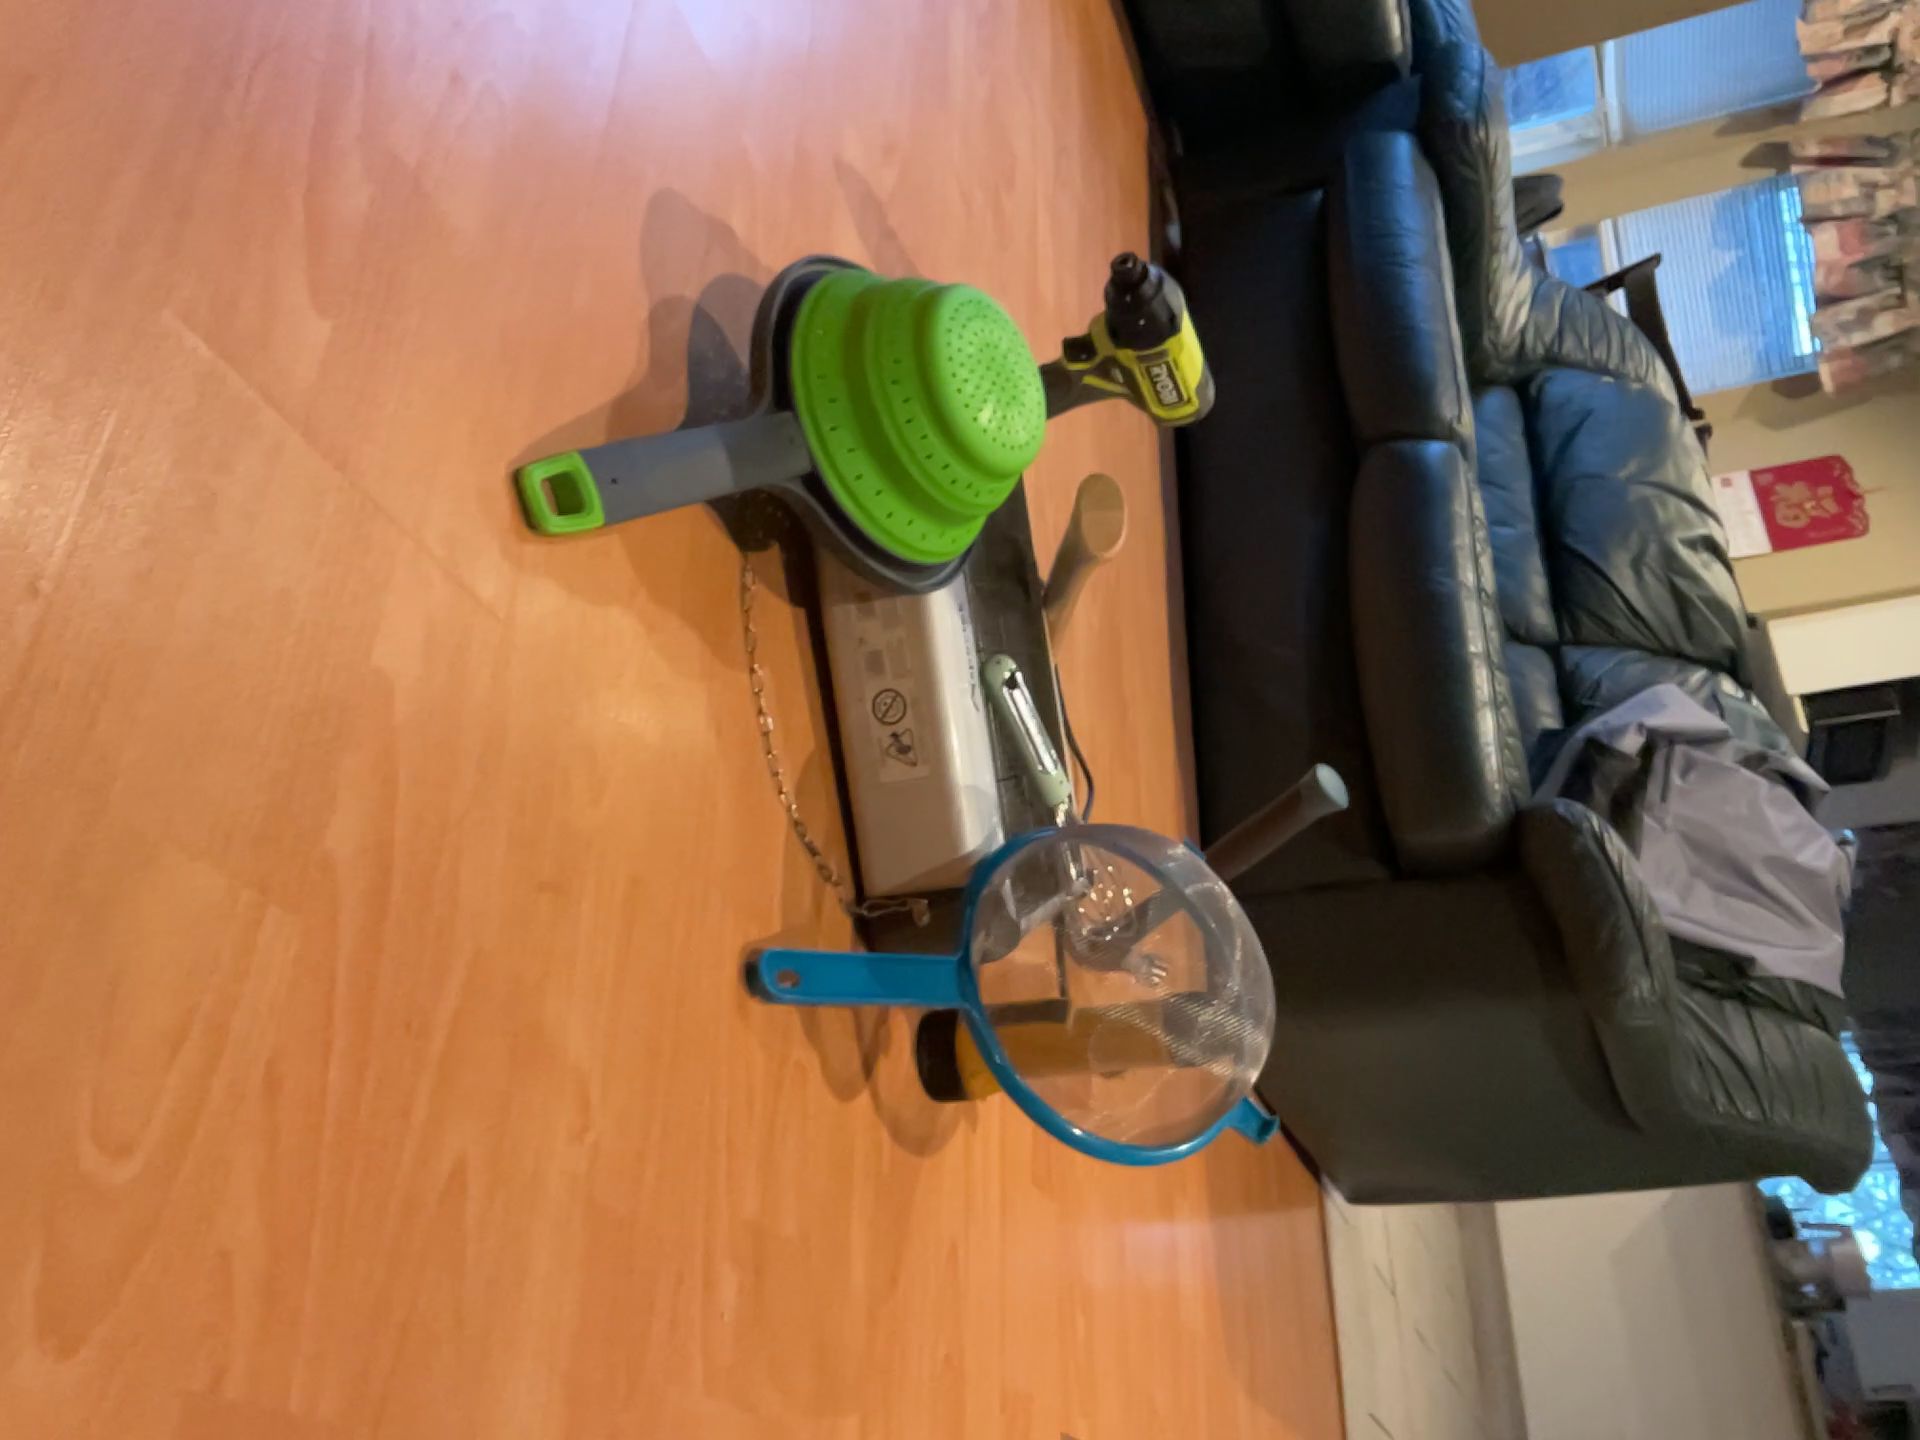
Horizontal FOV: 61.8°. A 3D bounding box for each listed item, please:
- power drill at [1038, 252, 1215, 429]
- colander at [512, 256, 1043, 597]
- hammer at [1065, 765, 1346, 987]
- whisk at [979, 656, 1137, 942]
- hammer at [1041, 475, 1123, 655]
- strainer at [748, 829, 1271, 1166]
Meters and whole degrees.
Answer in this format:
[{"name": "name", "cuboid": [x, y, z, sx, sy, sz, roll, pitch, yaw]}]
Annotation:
[{"name": "power drill", "cuboid": [0.069, -0.275, 1.235, 0.171, 0.223, 0.080, 50, 34, -56]}, {"name": "colander", "cuboid": [-0.061, -0.157, 0.845, 0.397, 0.094, 0.204, -27, 100, -54]}, {"name": "hammer", "cuboid": [0.201, 0.130, 1.327, 0.128, 0.330, 0.033, 22, 49, -21]}, {"name": "whisk", "cuboid": [0.065, 0.057, 1.076, 0.058, 0.059, 0.246, -47, 127, -31]}, {"name": "hammer", "cuboid": [0.072, -0.099, 1.206, 0.410, 0.038, 0.146, 105, -19, -75]}, {"name": "strainer", "cuboid": [0.053, 0.134, 0.895, 0.340, 0.095, 0.211, 8, 56, -34]}]
